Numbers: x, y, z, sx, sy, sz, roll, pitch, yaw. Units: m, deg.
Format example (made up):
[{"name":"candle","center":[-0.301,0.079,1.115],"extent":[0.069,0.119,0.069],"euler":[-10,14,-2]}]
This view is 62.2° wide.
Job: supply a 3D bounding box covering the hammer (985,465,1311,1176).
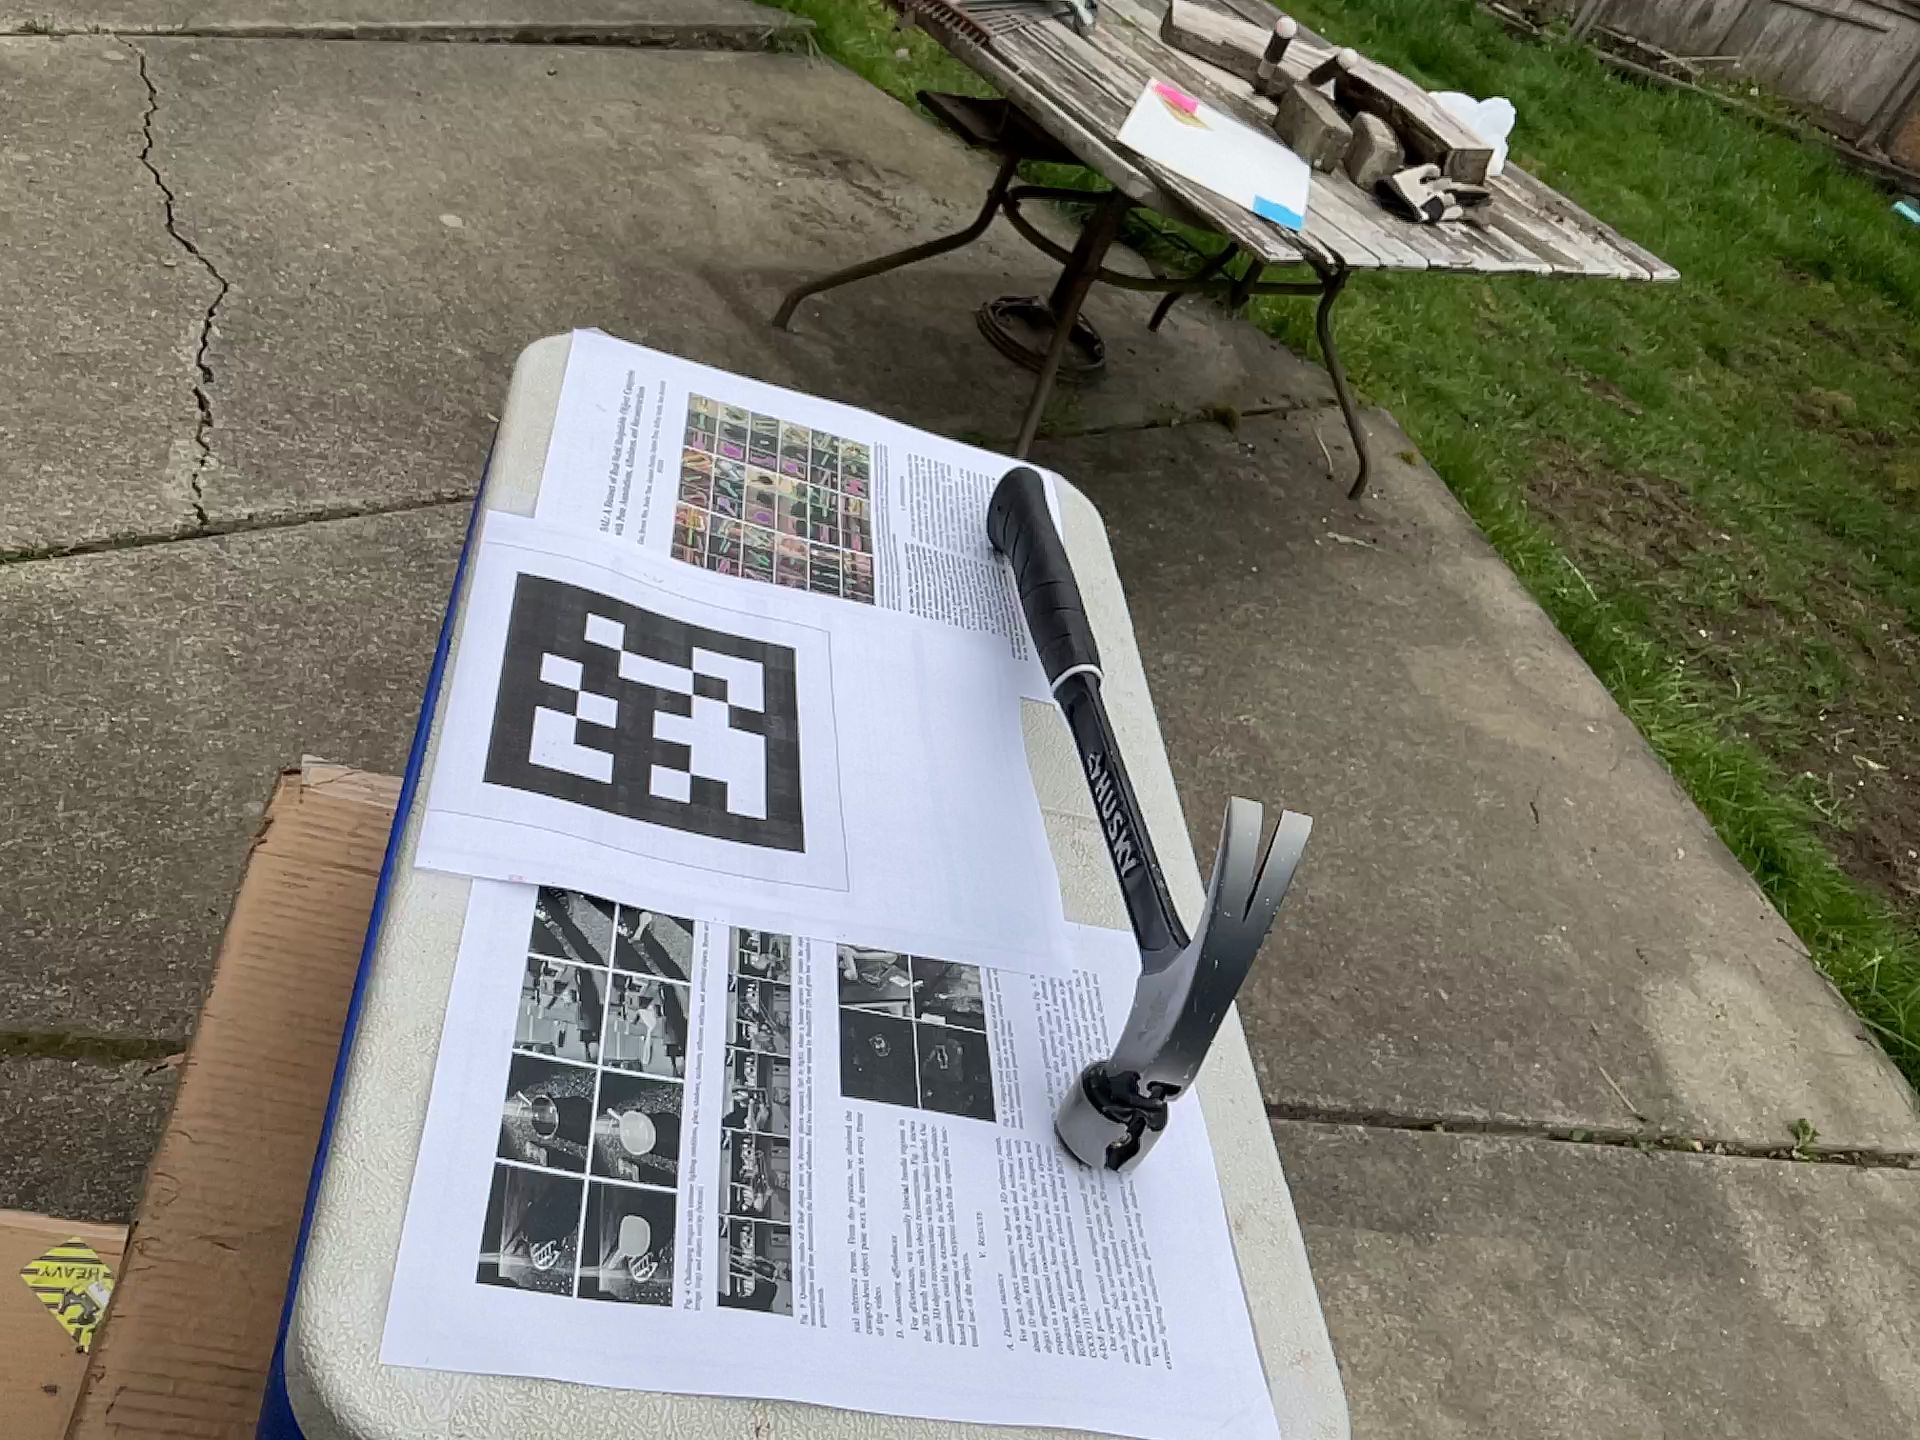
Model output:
[{"name":"hammer","center":[0.055,-0.009,0.700],"extent":[0.036,0.149,0.409],"euler":[15,32,-18]}]
